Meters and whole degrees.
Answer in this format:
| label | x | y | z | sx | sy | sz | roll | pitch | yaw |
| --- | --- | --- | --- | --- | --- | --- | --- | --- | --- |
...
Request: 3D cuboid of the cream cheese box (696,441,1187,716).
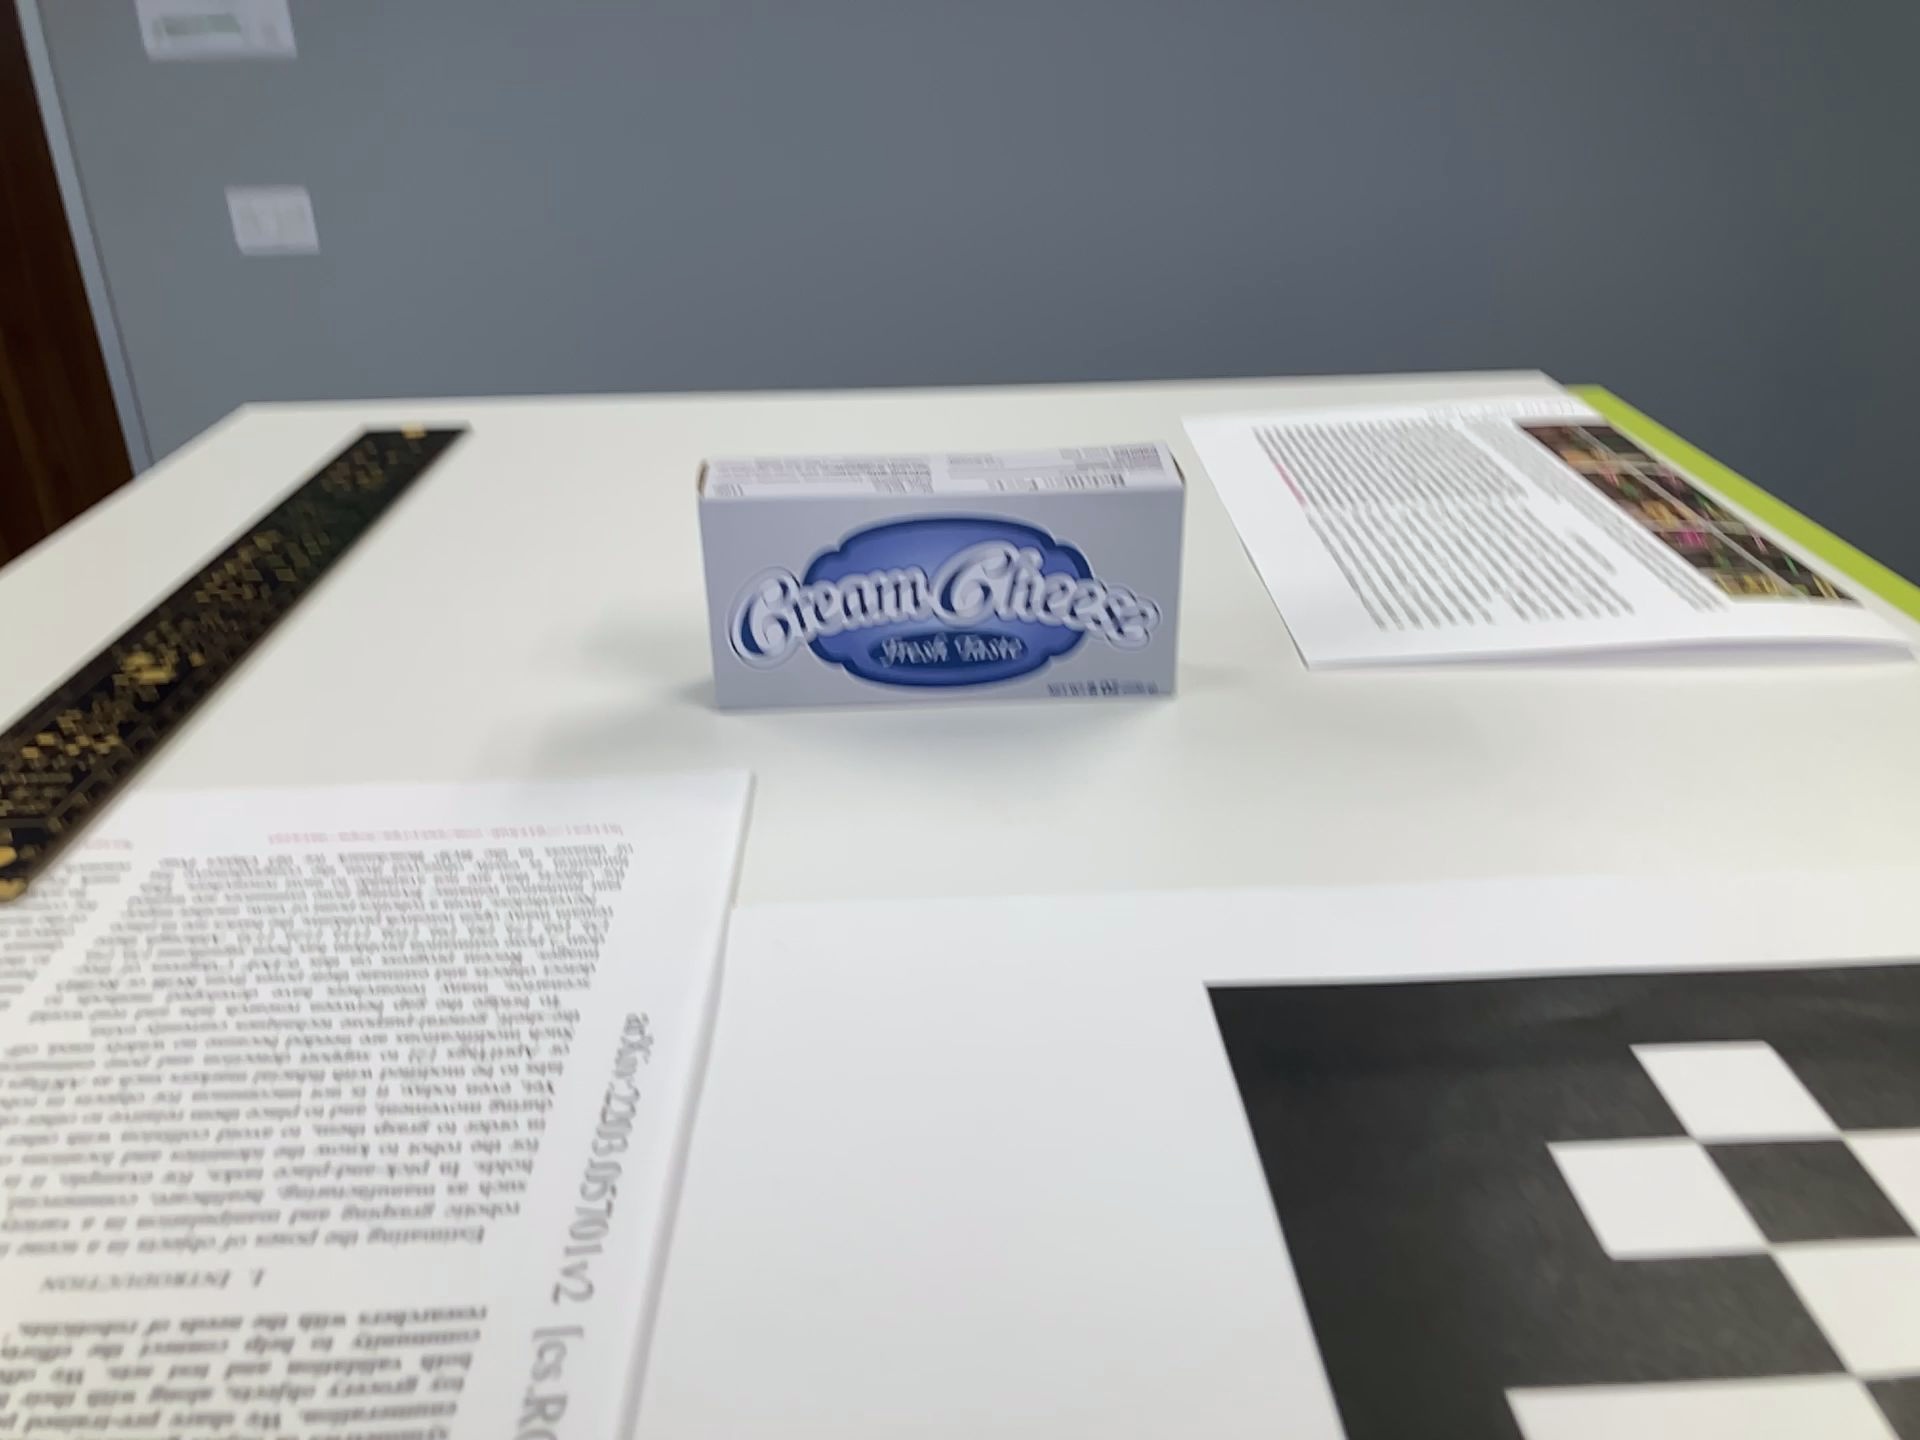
| label | x | y | z | sx | sy | sz | roll | pitch | yaw |
| --- | --- | --- | --- | --- | --- | --- | --- | --- | --- |
| cream cheese box | -0.004 | -0.031 | 0.348 | 0.104 | 0.053 | 0.024 | -2 | 28 | -2 |
